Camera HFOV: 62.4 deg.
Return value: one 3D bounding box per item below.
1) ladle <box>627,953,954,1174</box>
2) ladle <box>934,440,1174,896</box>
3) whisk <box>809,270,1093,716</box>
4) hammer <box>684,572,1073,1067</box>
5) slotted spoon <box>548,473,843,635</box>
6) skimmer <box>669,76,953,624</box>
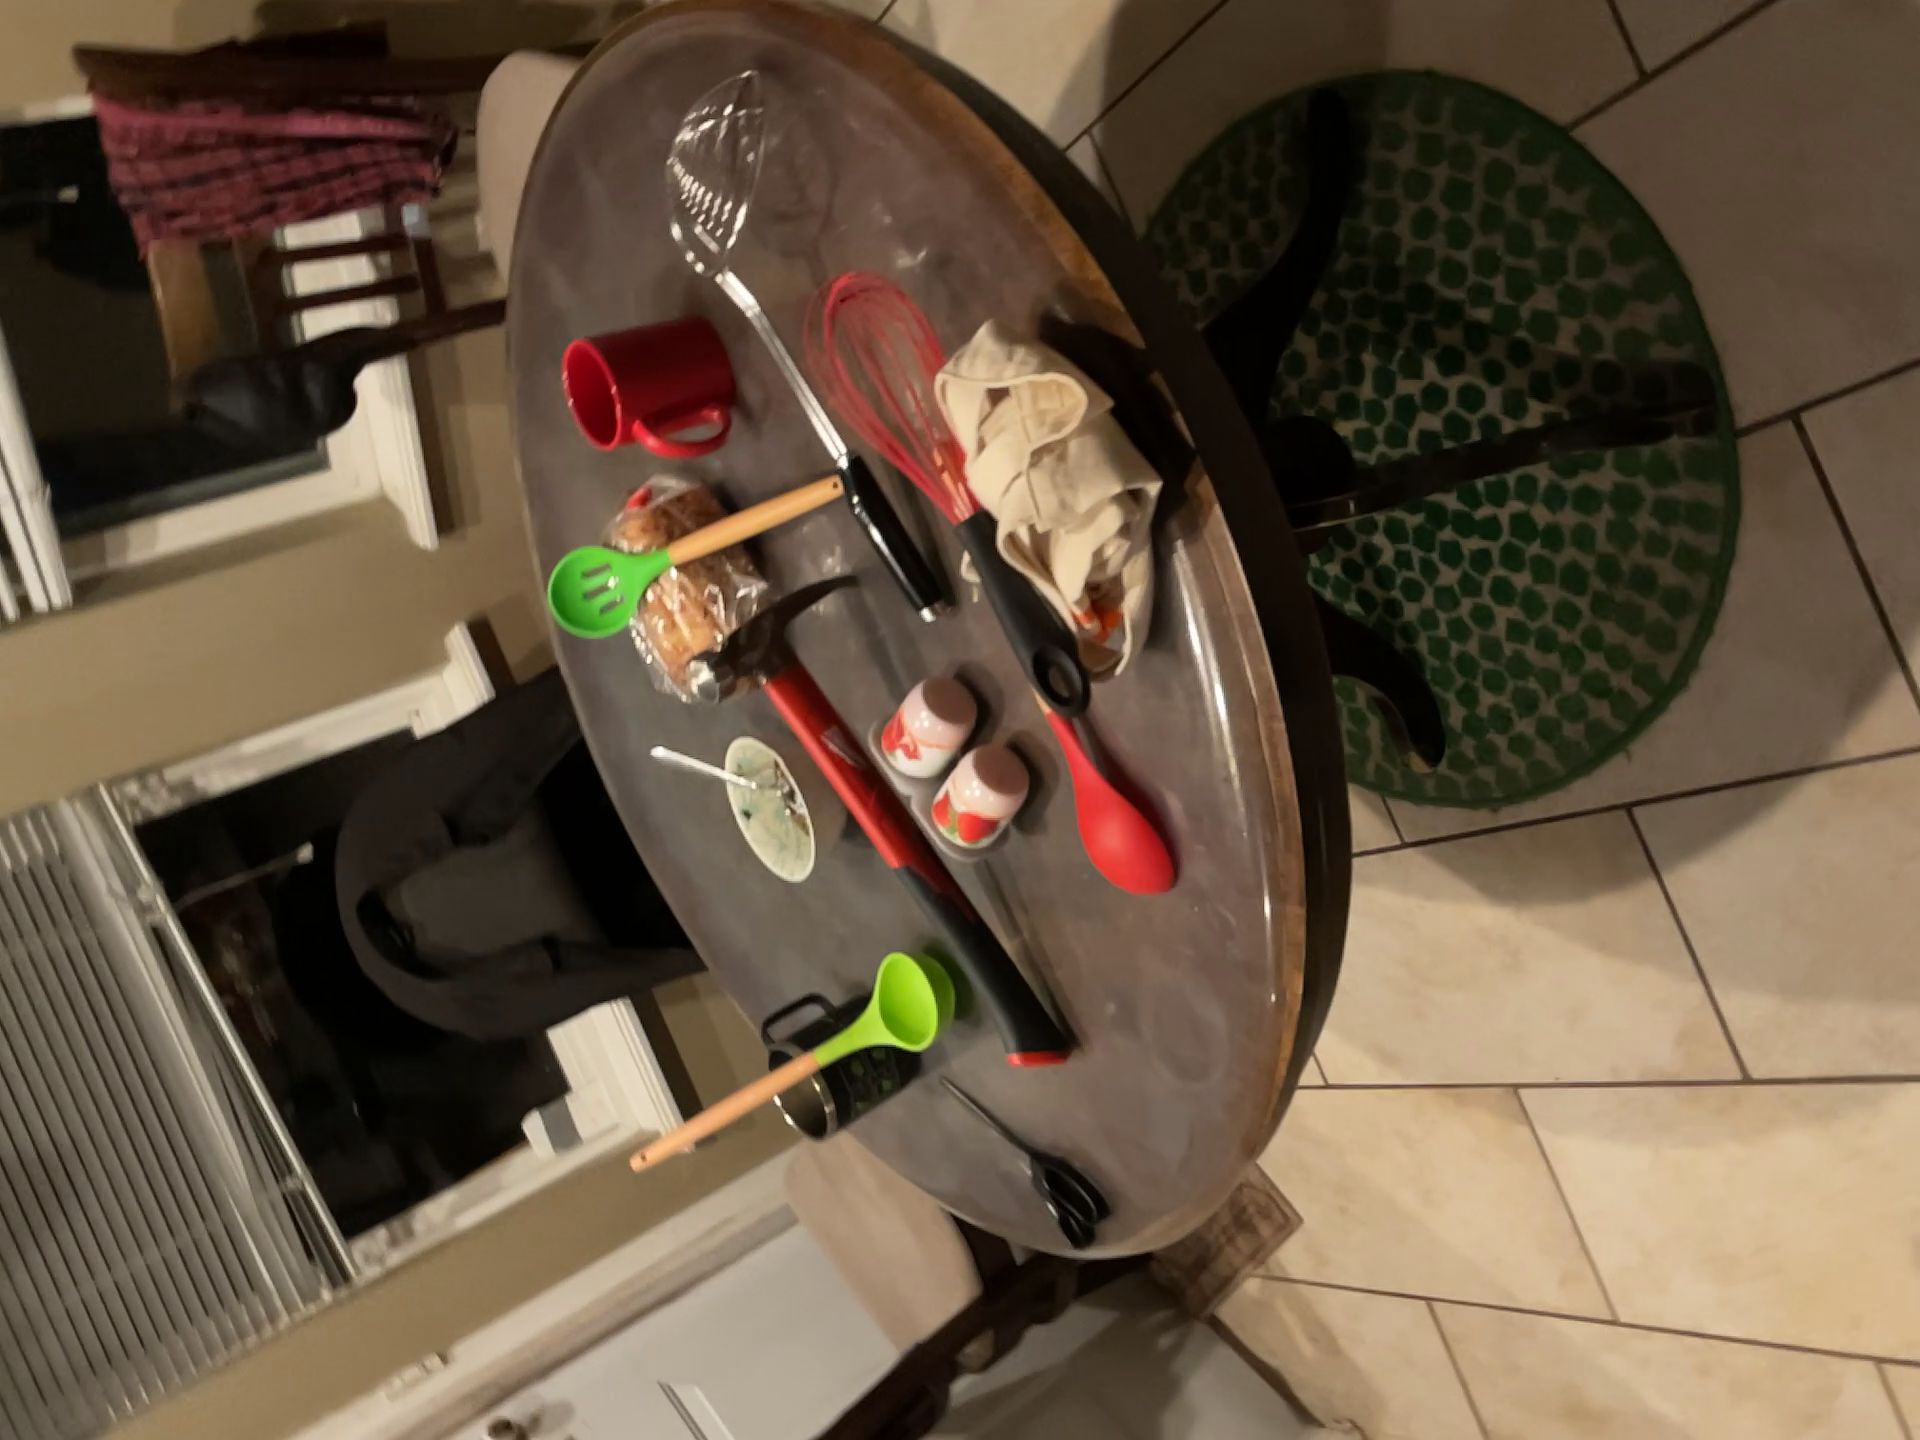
[{"bbox_3d":[-0.142,0.284,1.262,0.078,0.320,0.062,64,-168,24],"label":"ladle"},{"bbox_3d":[0.051,-0.031,0.990,0.069,0.031,0.315,-28,84,57],"label":"ladle"},{"bbox_3d":[-0.003,-0.132,0.910,0.296,0.073,0.073,61,146,7],"label":"whisk"},{"bbox_3d":[-0.030,0.079,1.132,0.386,0.143,0.038,55,149,-5],"label":"hammer"},{"bbox_3d":[-0.193,-0.130,1.178,0.314,0.031,0.070,-17,102,35],"label":"slotted spoon"},{"bbox_3d":[-0.083,-0.239,1.045,0.363,0.090,0.127,59,156,-9],"label":"skimmer"}]
